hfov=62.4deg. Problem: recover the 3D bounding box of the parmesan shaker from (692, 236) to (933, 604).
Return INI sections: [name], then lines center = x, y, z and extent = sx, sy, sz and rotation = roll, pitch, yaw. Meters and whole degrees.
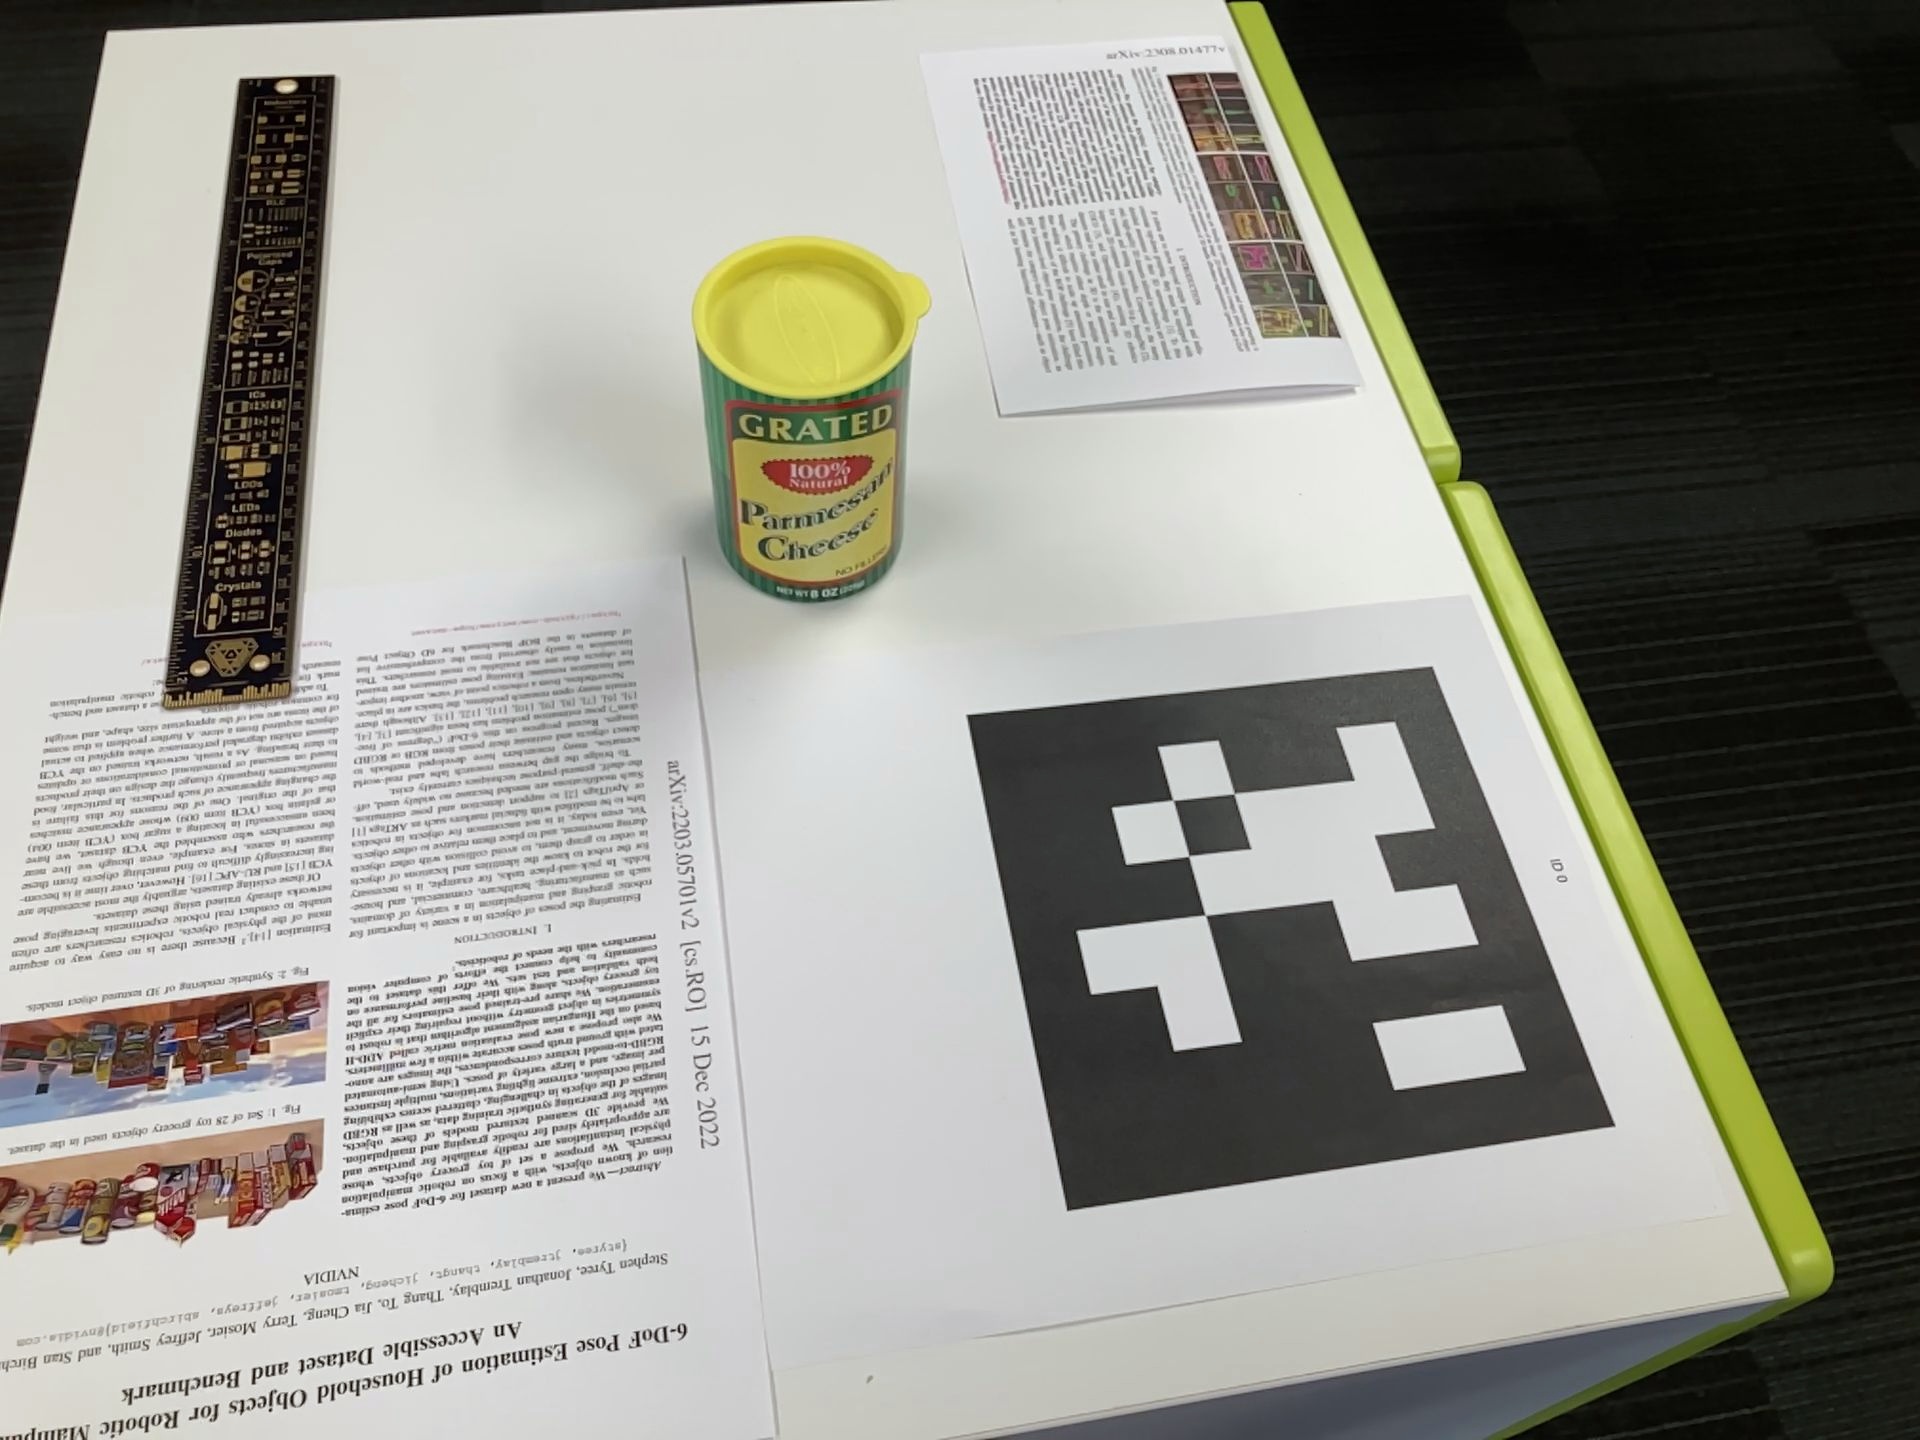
[parmesan shaker]
center = -0.046, -0.093, 0.511
extent = 0.071, 0.103, 0.071
rotation = 2, 57, -3
